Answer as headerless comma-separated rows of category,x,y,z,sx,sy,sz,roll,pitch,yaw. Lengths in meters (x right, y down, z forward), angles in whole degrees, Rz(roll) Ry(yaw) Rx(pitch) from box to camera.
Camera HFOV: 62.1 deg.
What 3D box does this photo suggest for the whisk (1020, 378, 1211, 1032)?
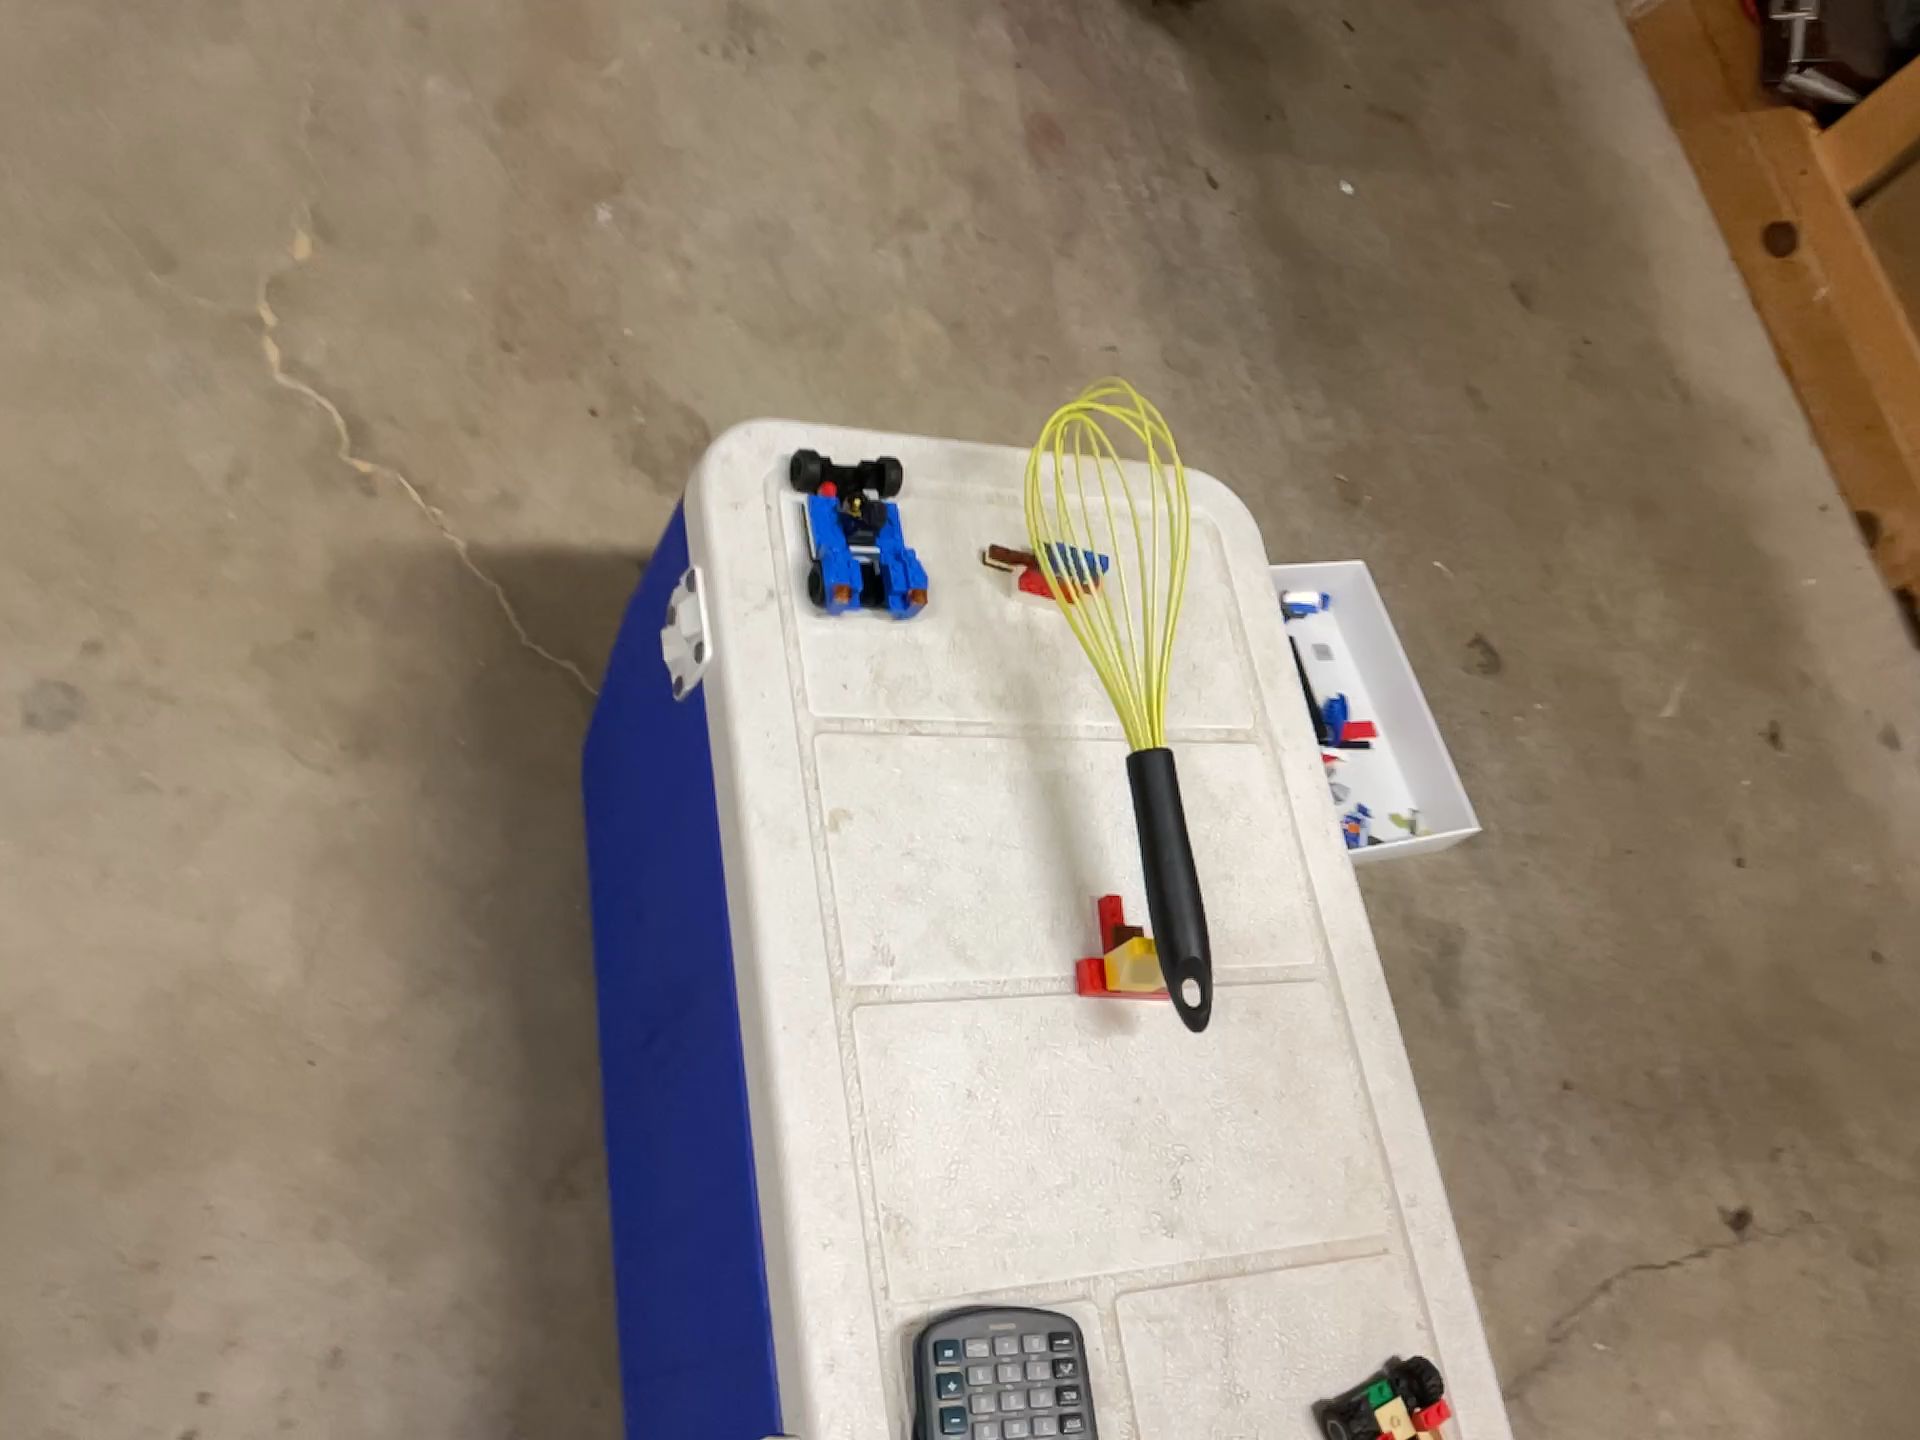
whisk,0.083,-0.012,0.740,0.080,0.067,0.312,-13,74,17
